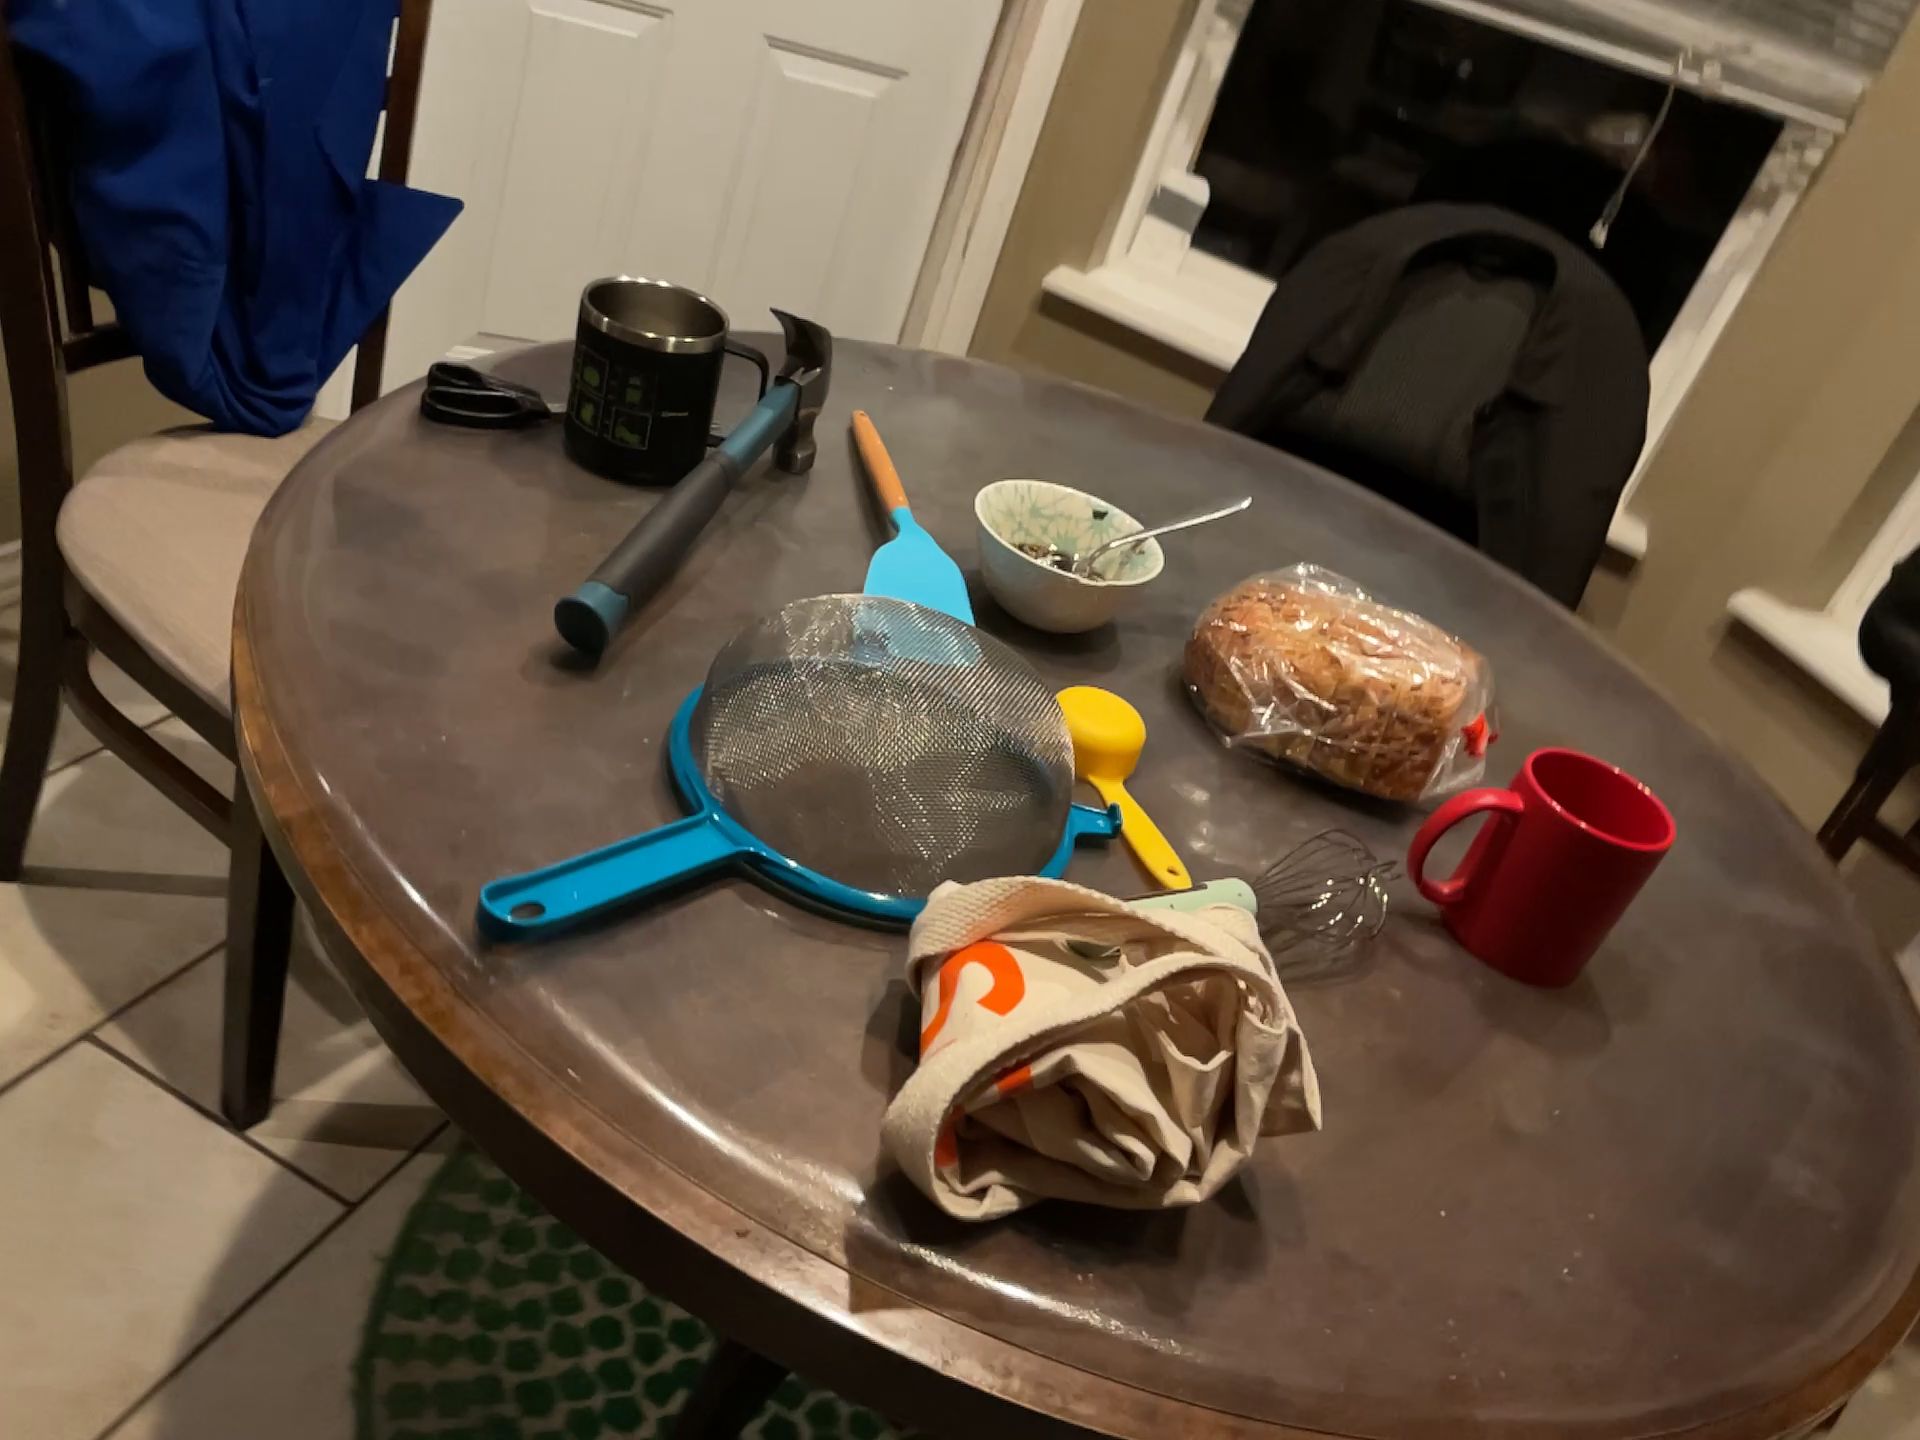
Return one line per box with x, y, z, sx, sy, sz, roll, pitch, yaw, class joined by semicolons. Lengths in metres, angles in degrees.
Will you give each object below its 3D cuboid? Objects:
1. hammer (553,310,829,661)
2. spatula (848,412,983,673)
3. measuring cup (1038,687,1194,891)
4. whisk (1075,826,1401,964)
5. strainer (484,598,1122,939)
-0.147;-0.136;0.937;0.033;0.128;0.331;20;40;5;hammer
-0.048;-0.131;1.046;0.082;0.044;0.318;8;29;-17;spatula
0.091;0.033;0.857;0.062;0.029;0.157;3;34;-25;measuring cup
0.136;0.086;0.756;0.246;0.057;0.059;-3;68;-47;whisk
-0.068;0.013;0.739;0.211;0.095;0.340;36;31;26;strainer
